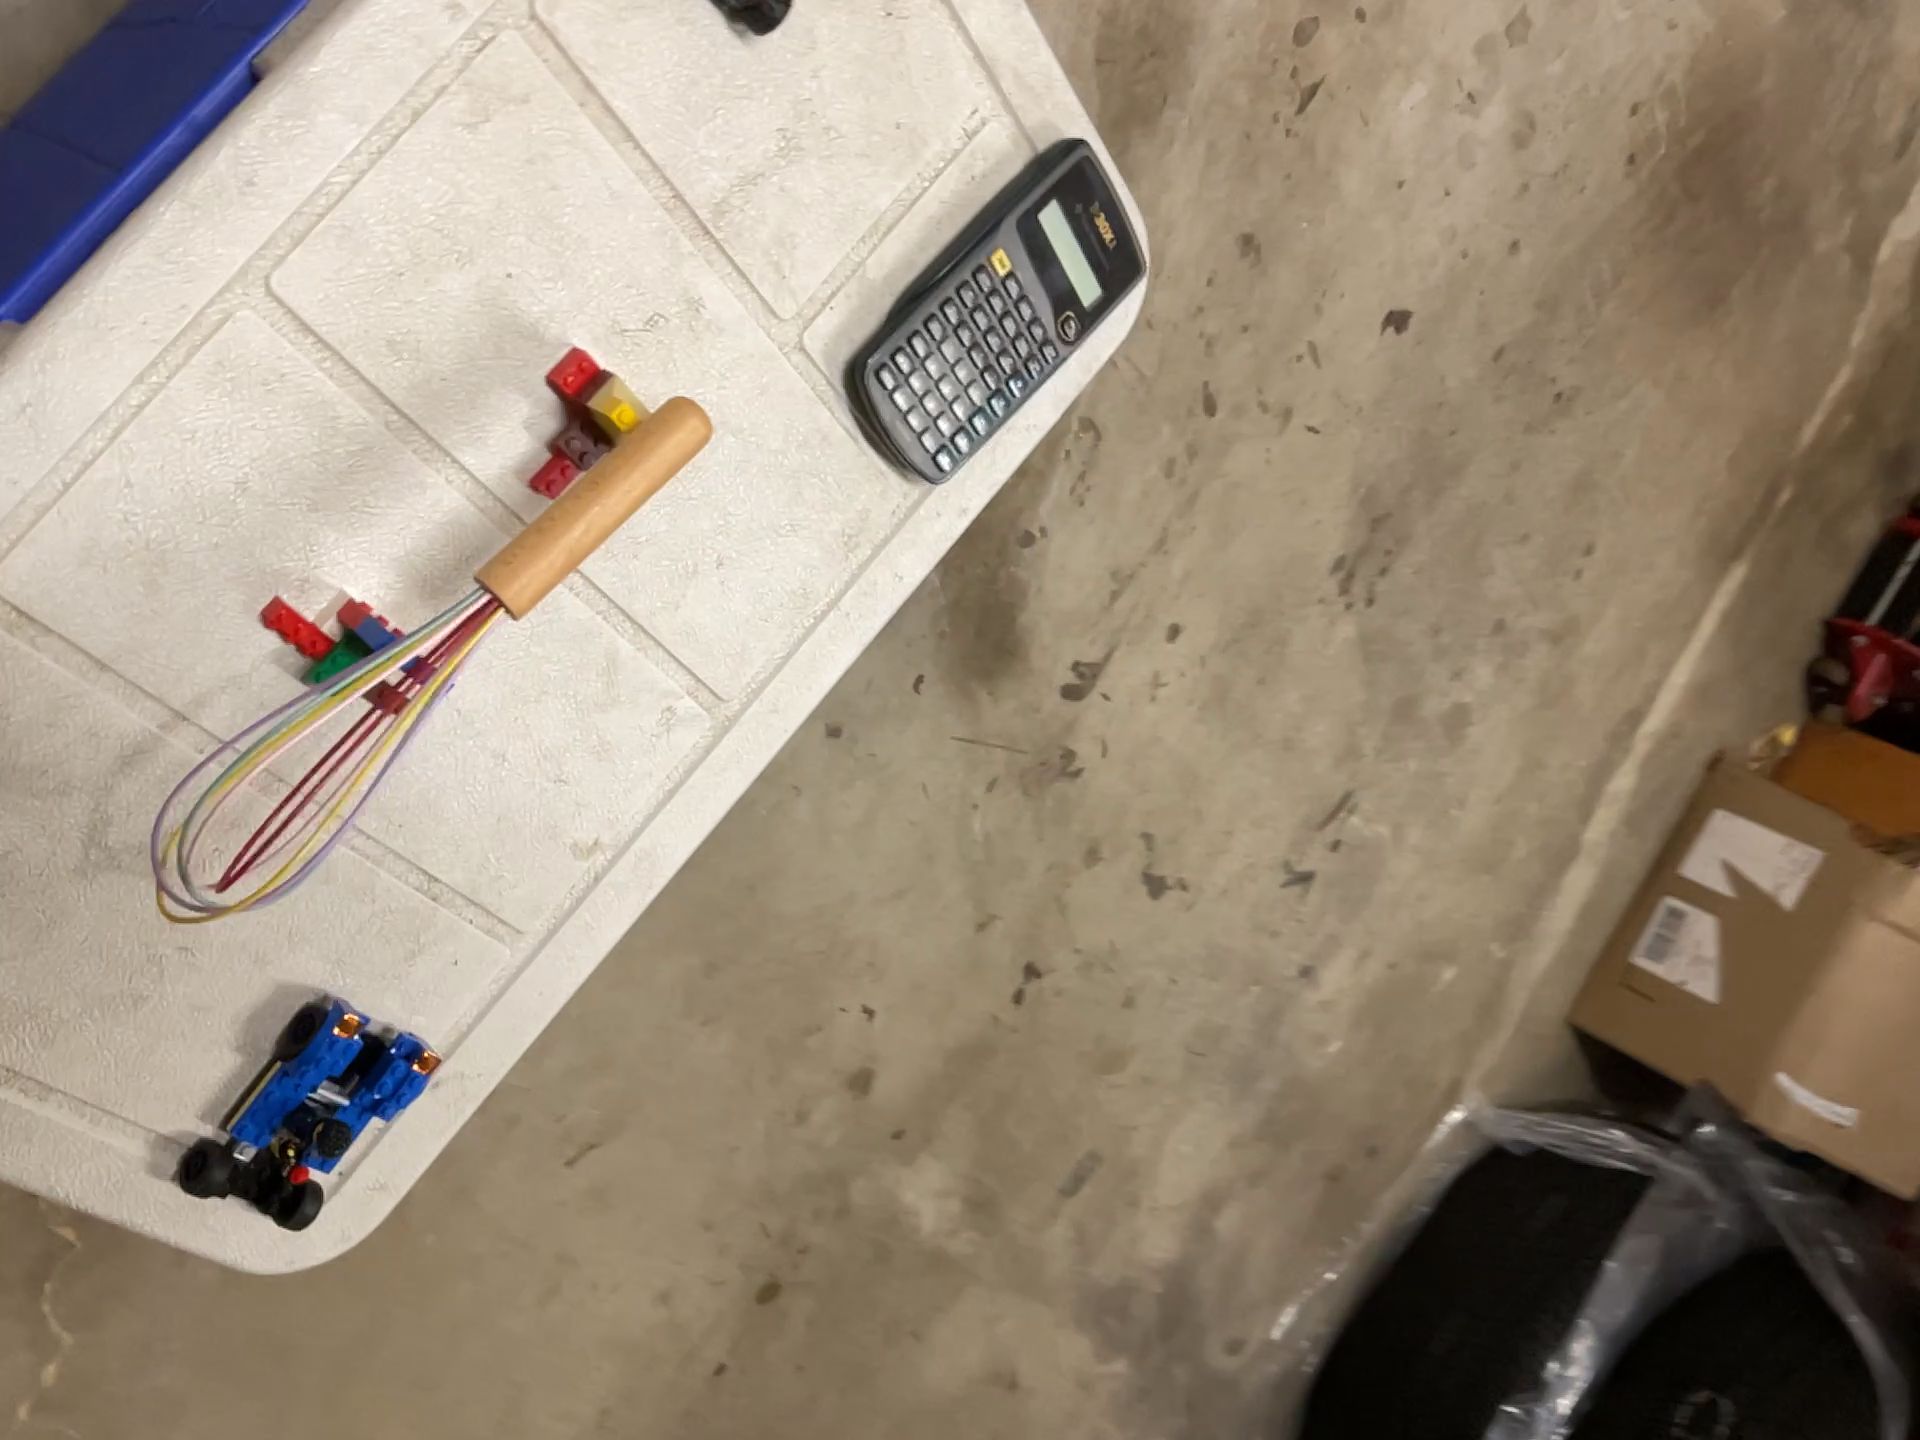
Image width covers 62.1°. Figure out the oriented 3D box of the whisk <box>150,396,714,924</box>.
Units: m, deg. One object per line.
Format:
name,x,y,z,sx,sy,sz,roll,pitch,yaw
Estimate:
whisk,-0.172,-0.023,0.544,0.245,0.047,0.051,-47,121,-16
